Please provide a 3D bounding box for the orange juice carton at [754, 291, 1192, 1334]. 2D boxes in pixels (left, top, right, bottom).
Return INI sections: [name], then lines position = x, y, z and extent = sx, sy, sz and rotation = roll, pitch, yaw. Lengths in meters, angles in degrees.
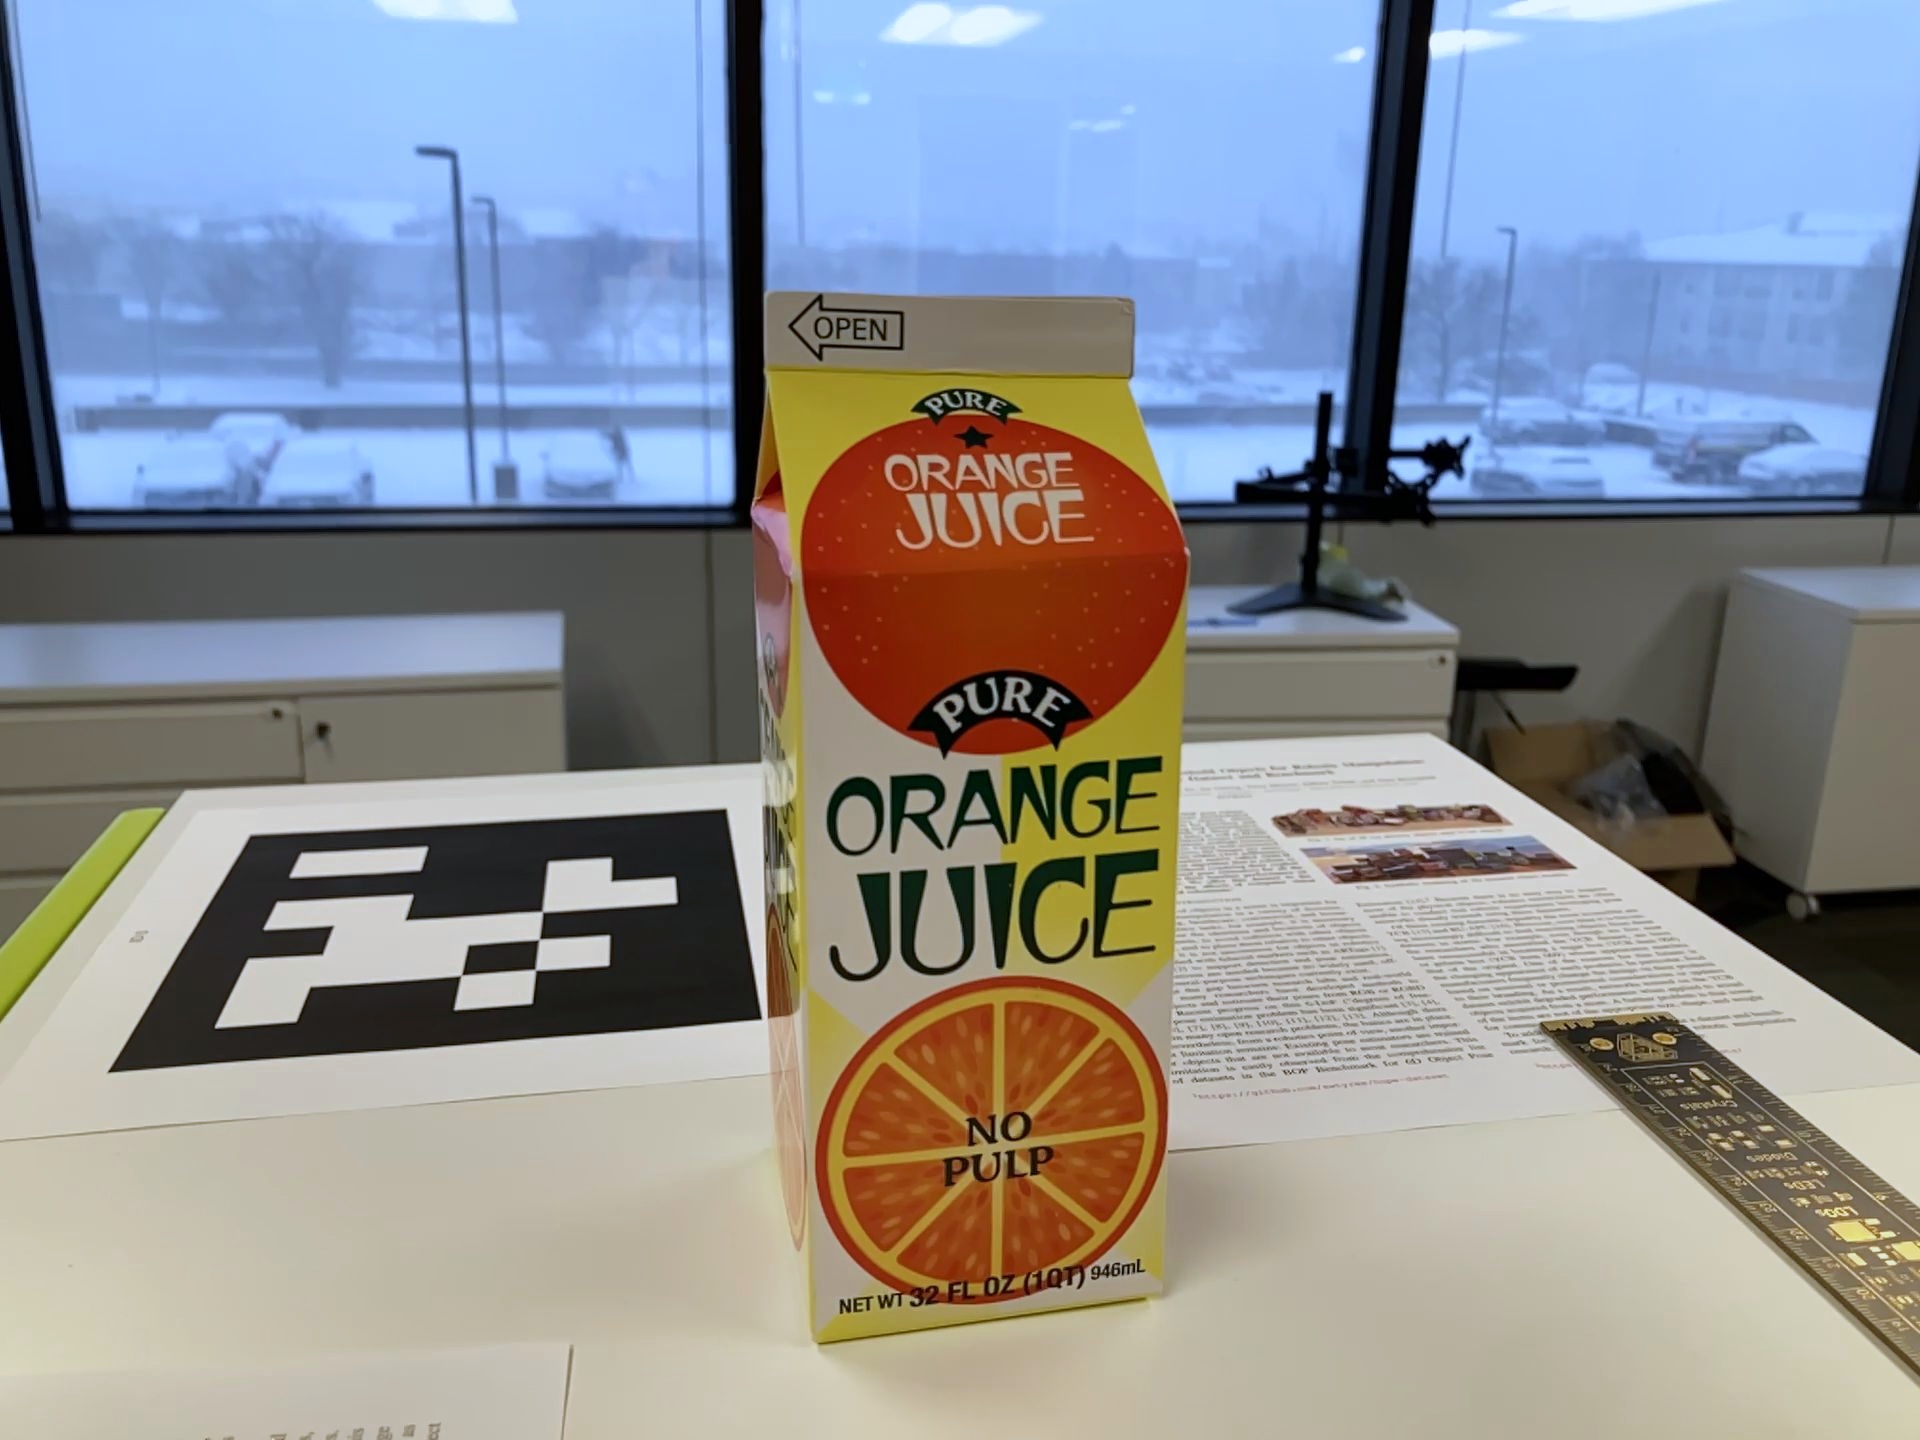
[orange juice carton]
position = -0.001, 0.014, 0.317
extent = 0.072, 0.192, 0.073
rotation = -3, 15, -12
